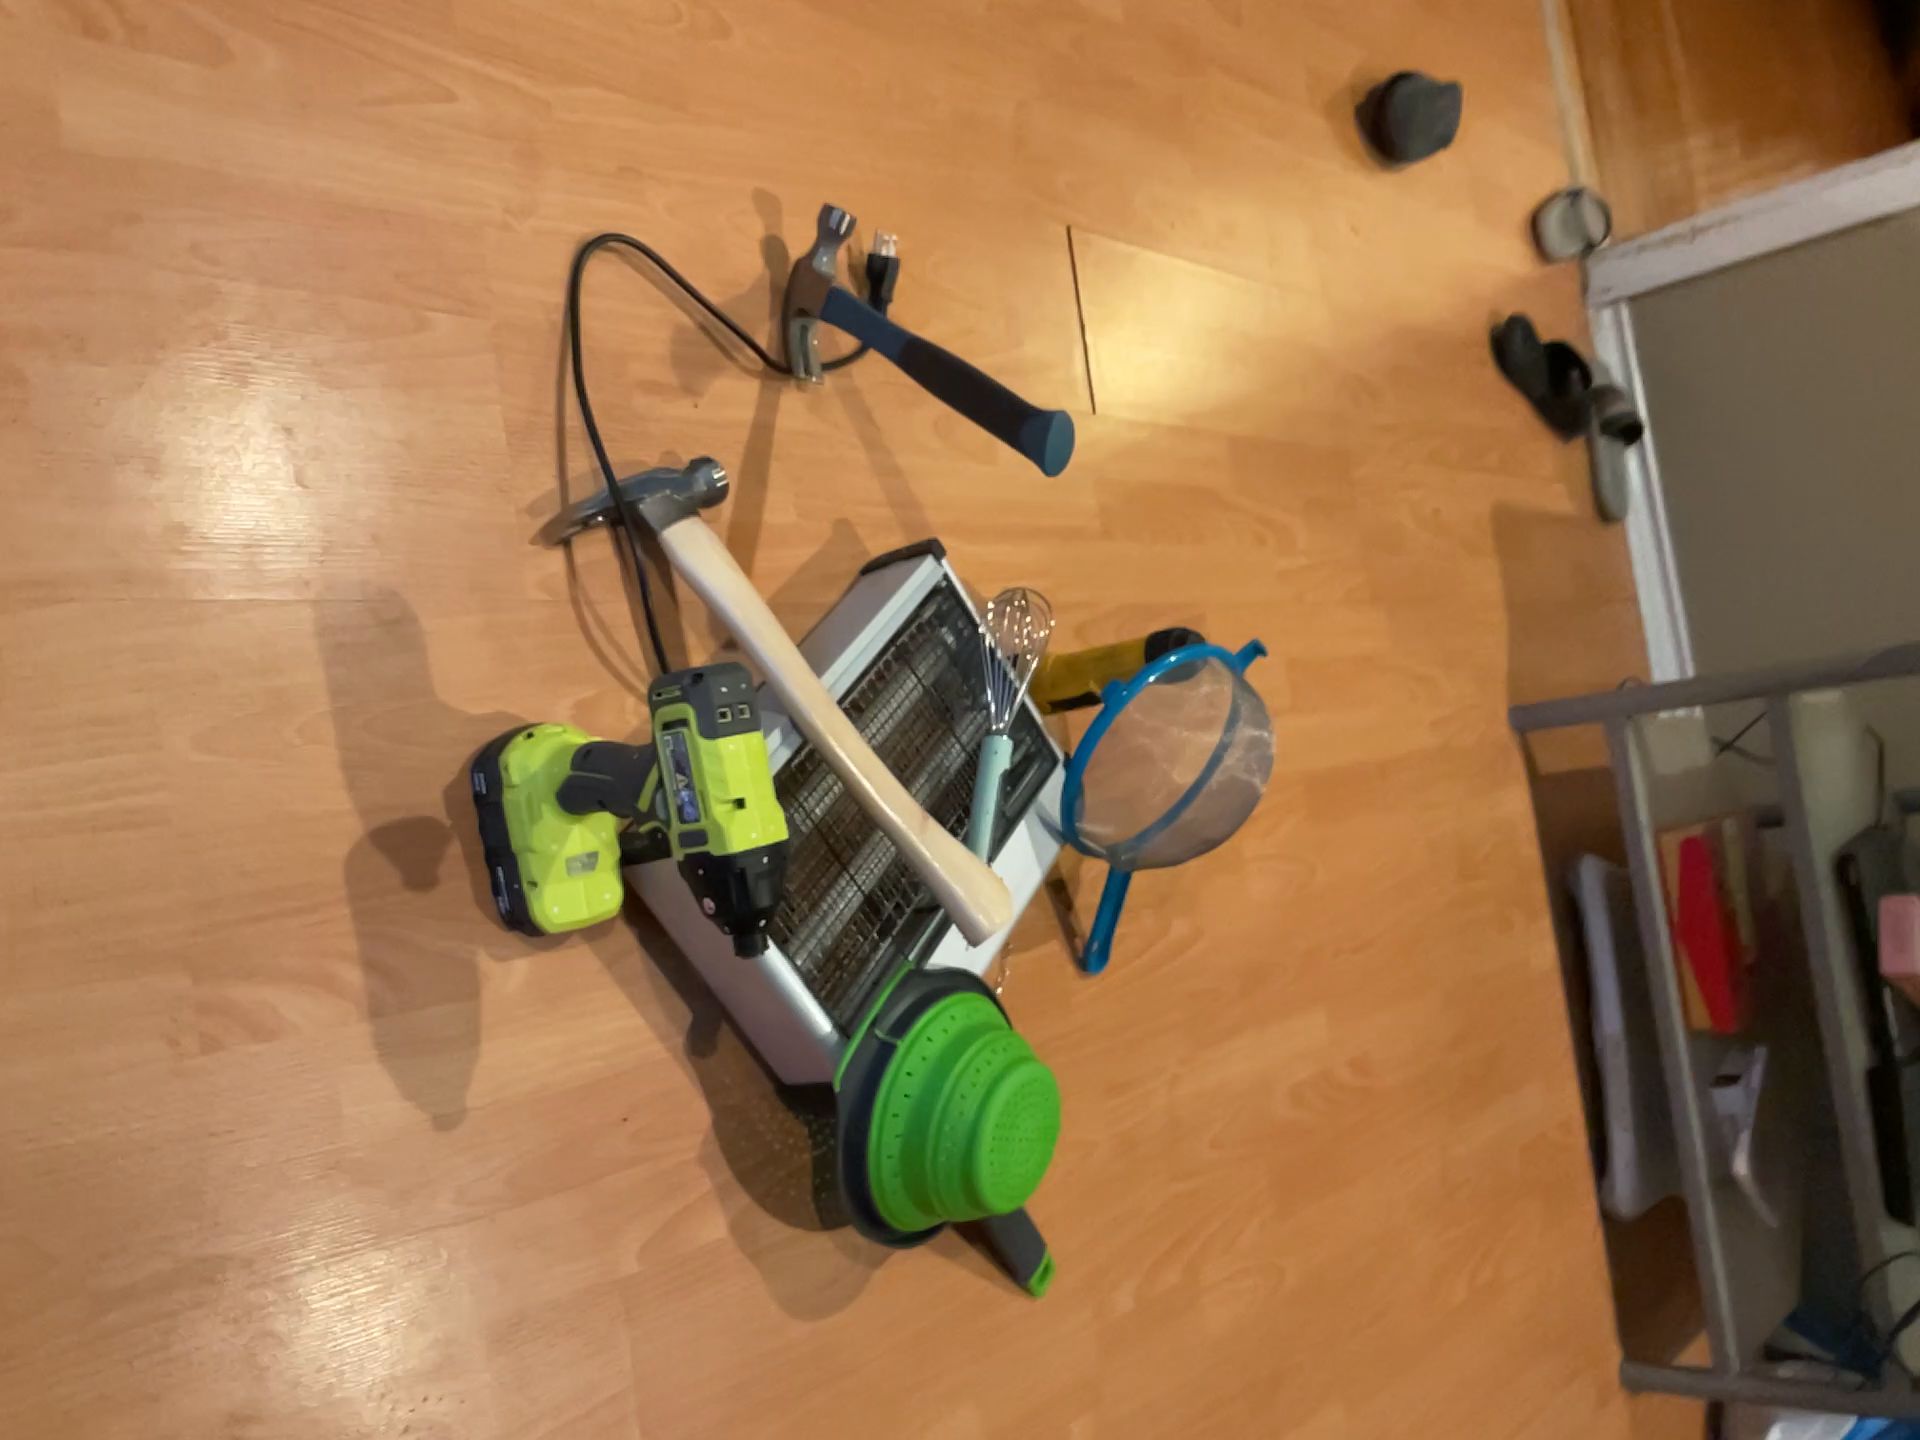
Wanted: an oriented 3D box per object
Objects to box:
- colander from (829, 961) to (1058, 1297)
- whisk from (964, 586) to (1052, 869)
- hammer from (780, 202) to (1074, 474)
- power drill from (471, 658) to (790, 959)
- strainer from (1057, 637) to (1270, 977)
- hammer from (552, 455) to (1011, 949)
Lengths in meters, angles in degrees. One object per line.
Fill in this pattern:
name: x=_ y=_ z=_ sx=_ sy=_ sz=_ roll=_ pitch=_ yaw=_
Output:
colander: x=0.033 y=0.343 z=1.207 sx=0.205 sy=0.094 sz=0.396 roll=-56 pitch=139 yaw=-31
whisk: x=0.031 y=0.007 z=1.263 sx=0.057 sy=0.059 sz=0.246 roll=57 pitch=40 yaw=-67
hammer: x=-0.031 y=-0.274 z=1.201 sx=0.033 sy=0.331 sz=0.128 roll=6 pitch=117 yaw=-48
power drill: x=-0.198 y=0.064 z=0.980 sx=0.080 sy=0.223 sz=0.171 roll=-11 pitch=90 yaw=-49
strainer: x=0.176 y=0.102 z=1.357 sx=0.211 sy=0.095 sz=0.340 roll=-16 pitch=129 yaw=-39
hammer: x=-0.111 y=-0.007 z=1.119 sx=0.410 sy=0.038 sz=0.146 roll=51 pitch=42 yaw=5
